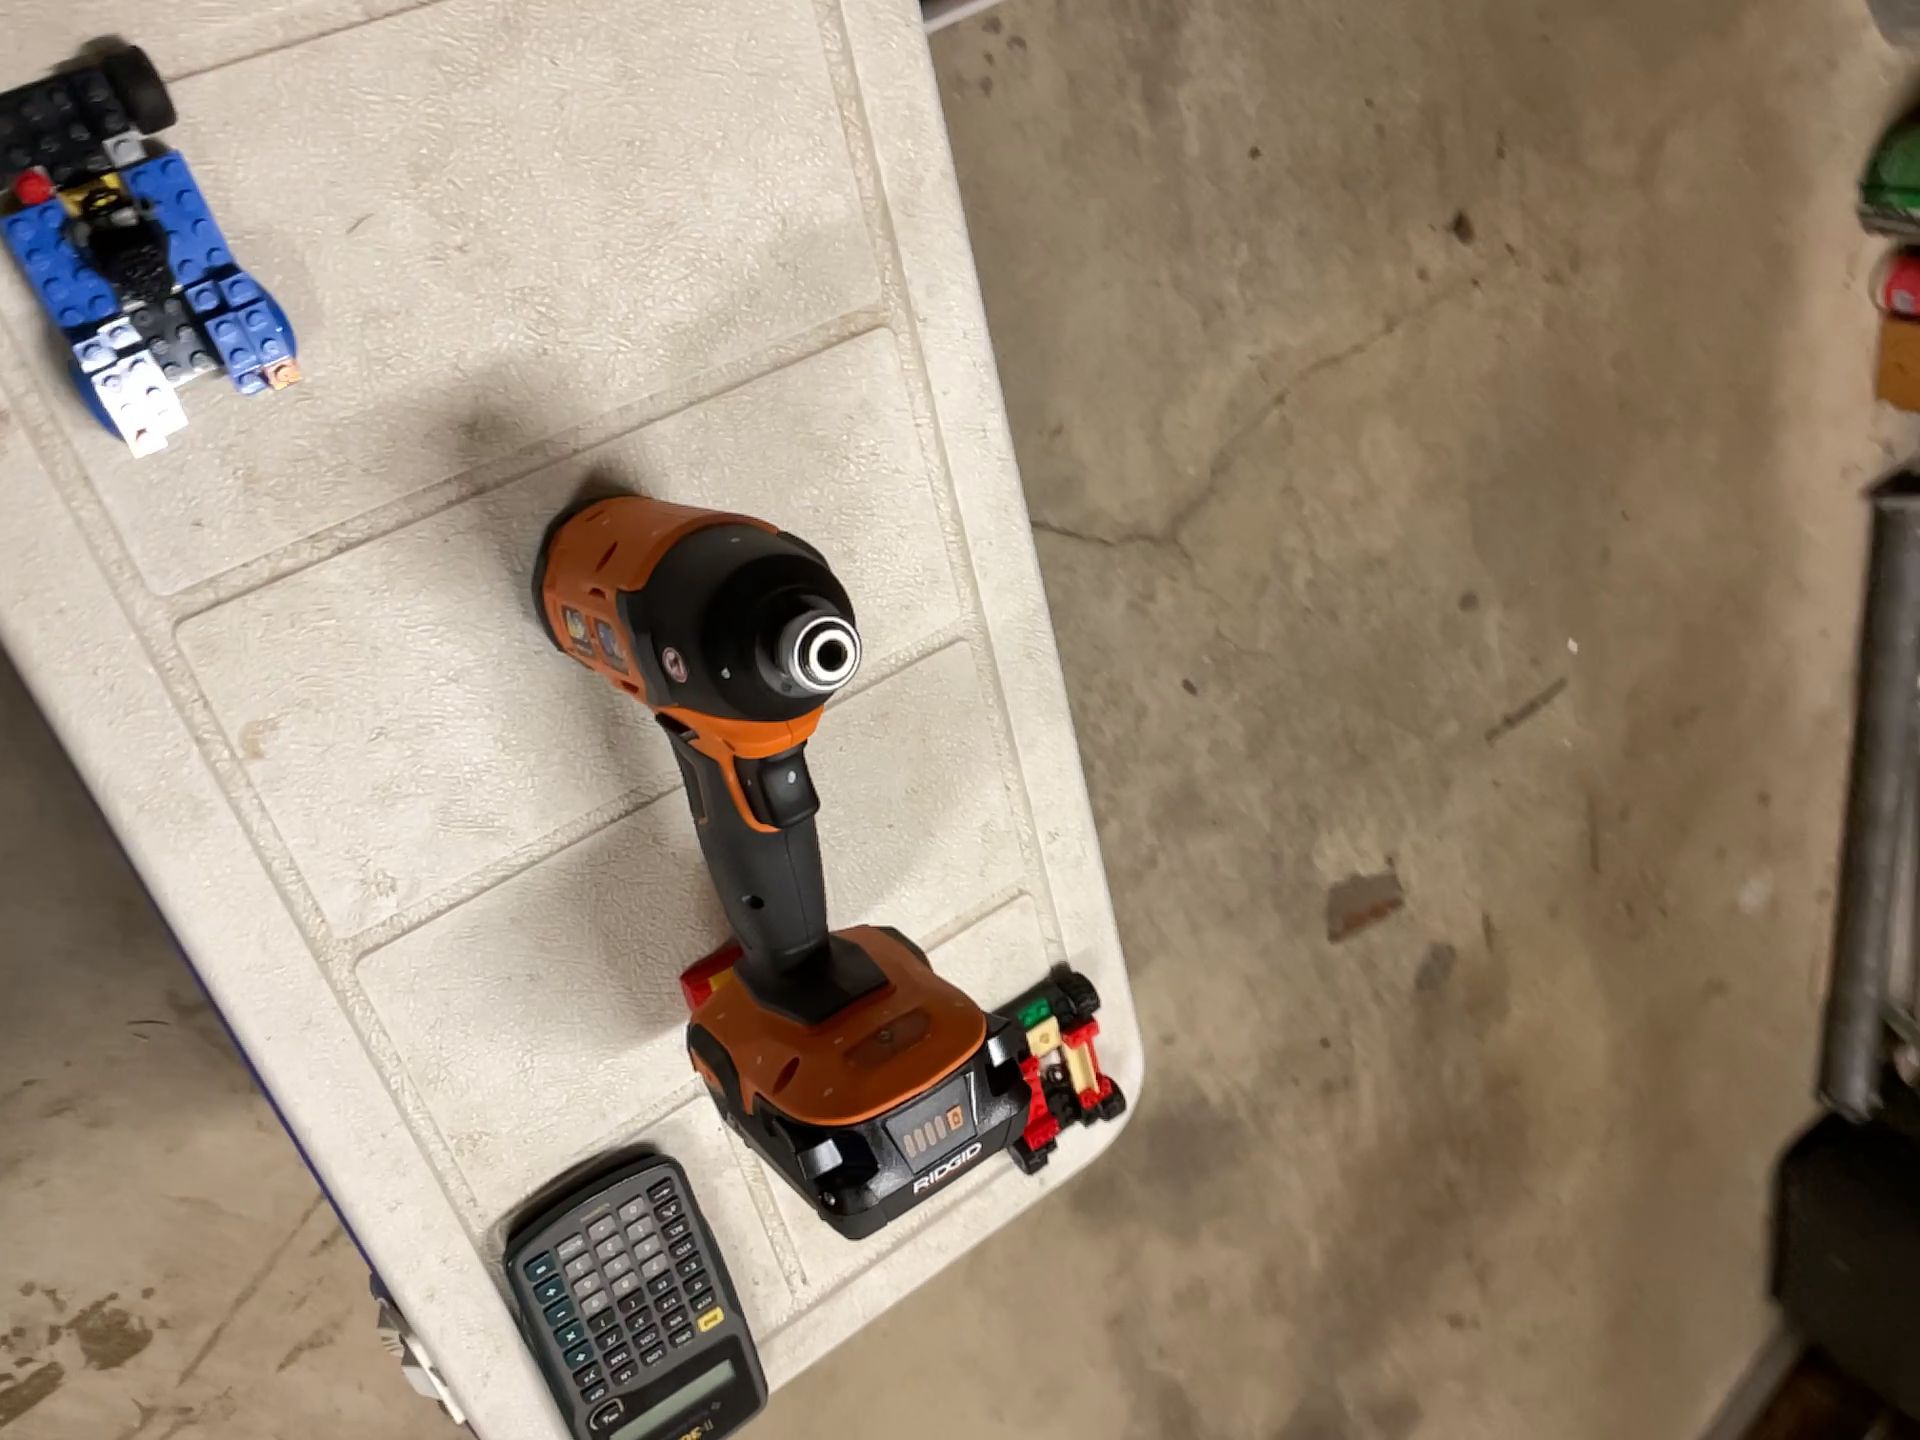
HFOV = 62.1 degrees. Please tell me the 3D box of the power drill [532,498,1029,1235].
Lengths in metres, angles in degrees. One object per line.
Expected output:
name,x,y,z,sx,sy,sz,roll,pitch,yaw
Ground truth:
power drill,-0.054,0.042,0.503,0.084,0.164,0.226,-26,112,-24
